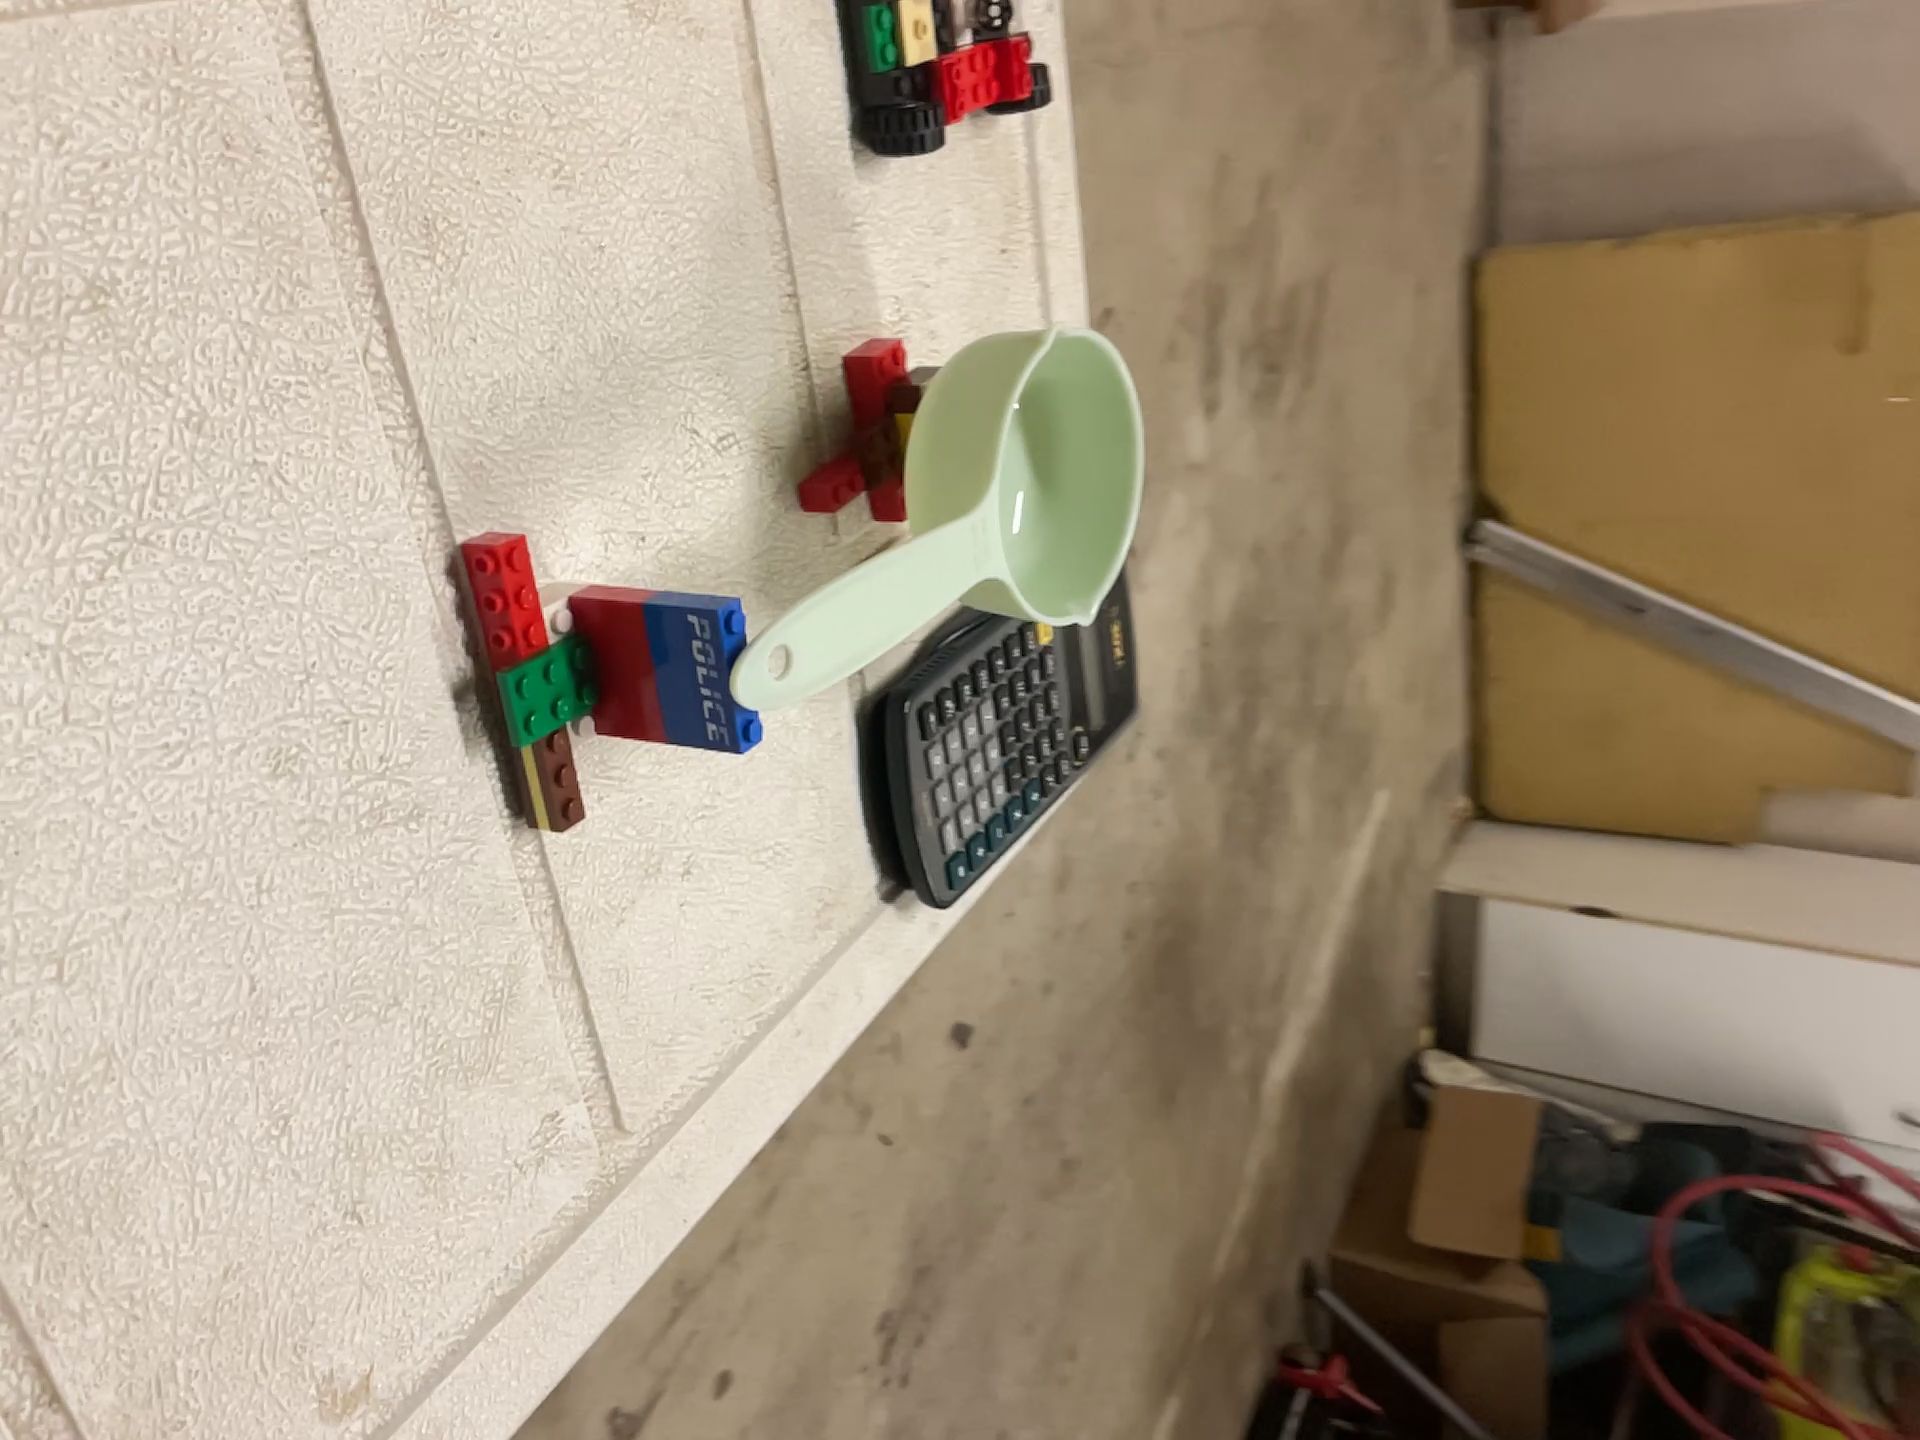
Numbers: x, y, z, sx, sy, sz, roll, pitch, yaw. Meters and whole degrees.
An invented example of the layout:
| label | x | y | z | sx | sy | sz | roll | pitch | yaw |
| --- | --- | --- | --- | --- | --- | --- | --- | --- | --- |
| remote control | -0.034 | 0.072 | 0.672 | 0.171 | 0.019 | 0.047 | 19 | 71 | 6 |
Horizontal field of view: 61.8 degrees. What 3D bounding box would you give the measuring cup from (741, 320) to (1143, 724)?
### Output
| label | x | y | z | sx | sy | sz | roll | pitch | yaw |
| --- | --- | --- | --- | --- | --- | --- | --- | --- | --- |
| measuring cup | -0.010 | -0.044 | 0.391 | 0.168 | 0.038 | 0.083 | -40 | 131 | -44 |
